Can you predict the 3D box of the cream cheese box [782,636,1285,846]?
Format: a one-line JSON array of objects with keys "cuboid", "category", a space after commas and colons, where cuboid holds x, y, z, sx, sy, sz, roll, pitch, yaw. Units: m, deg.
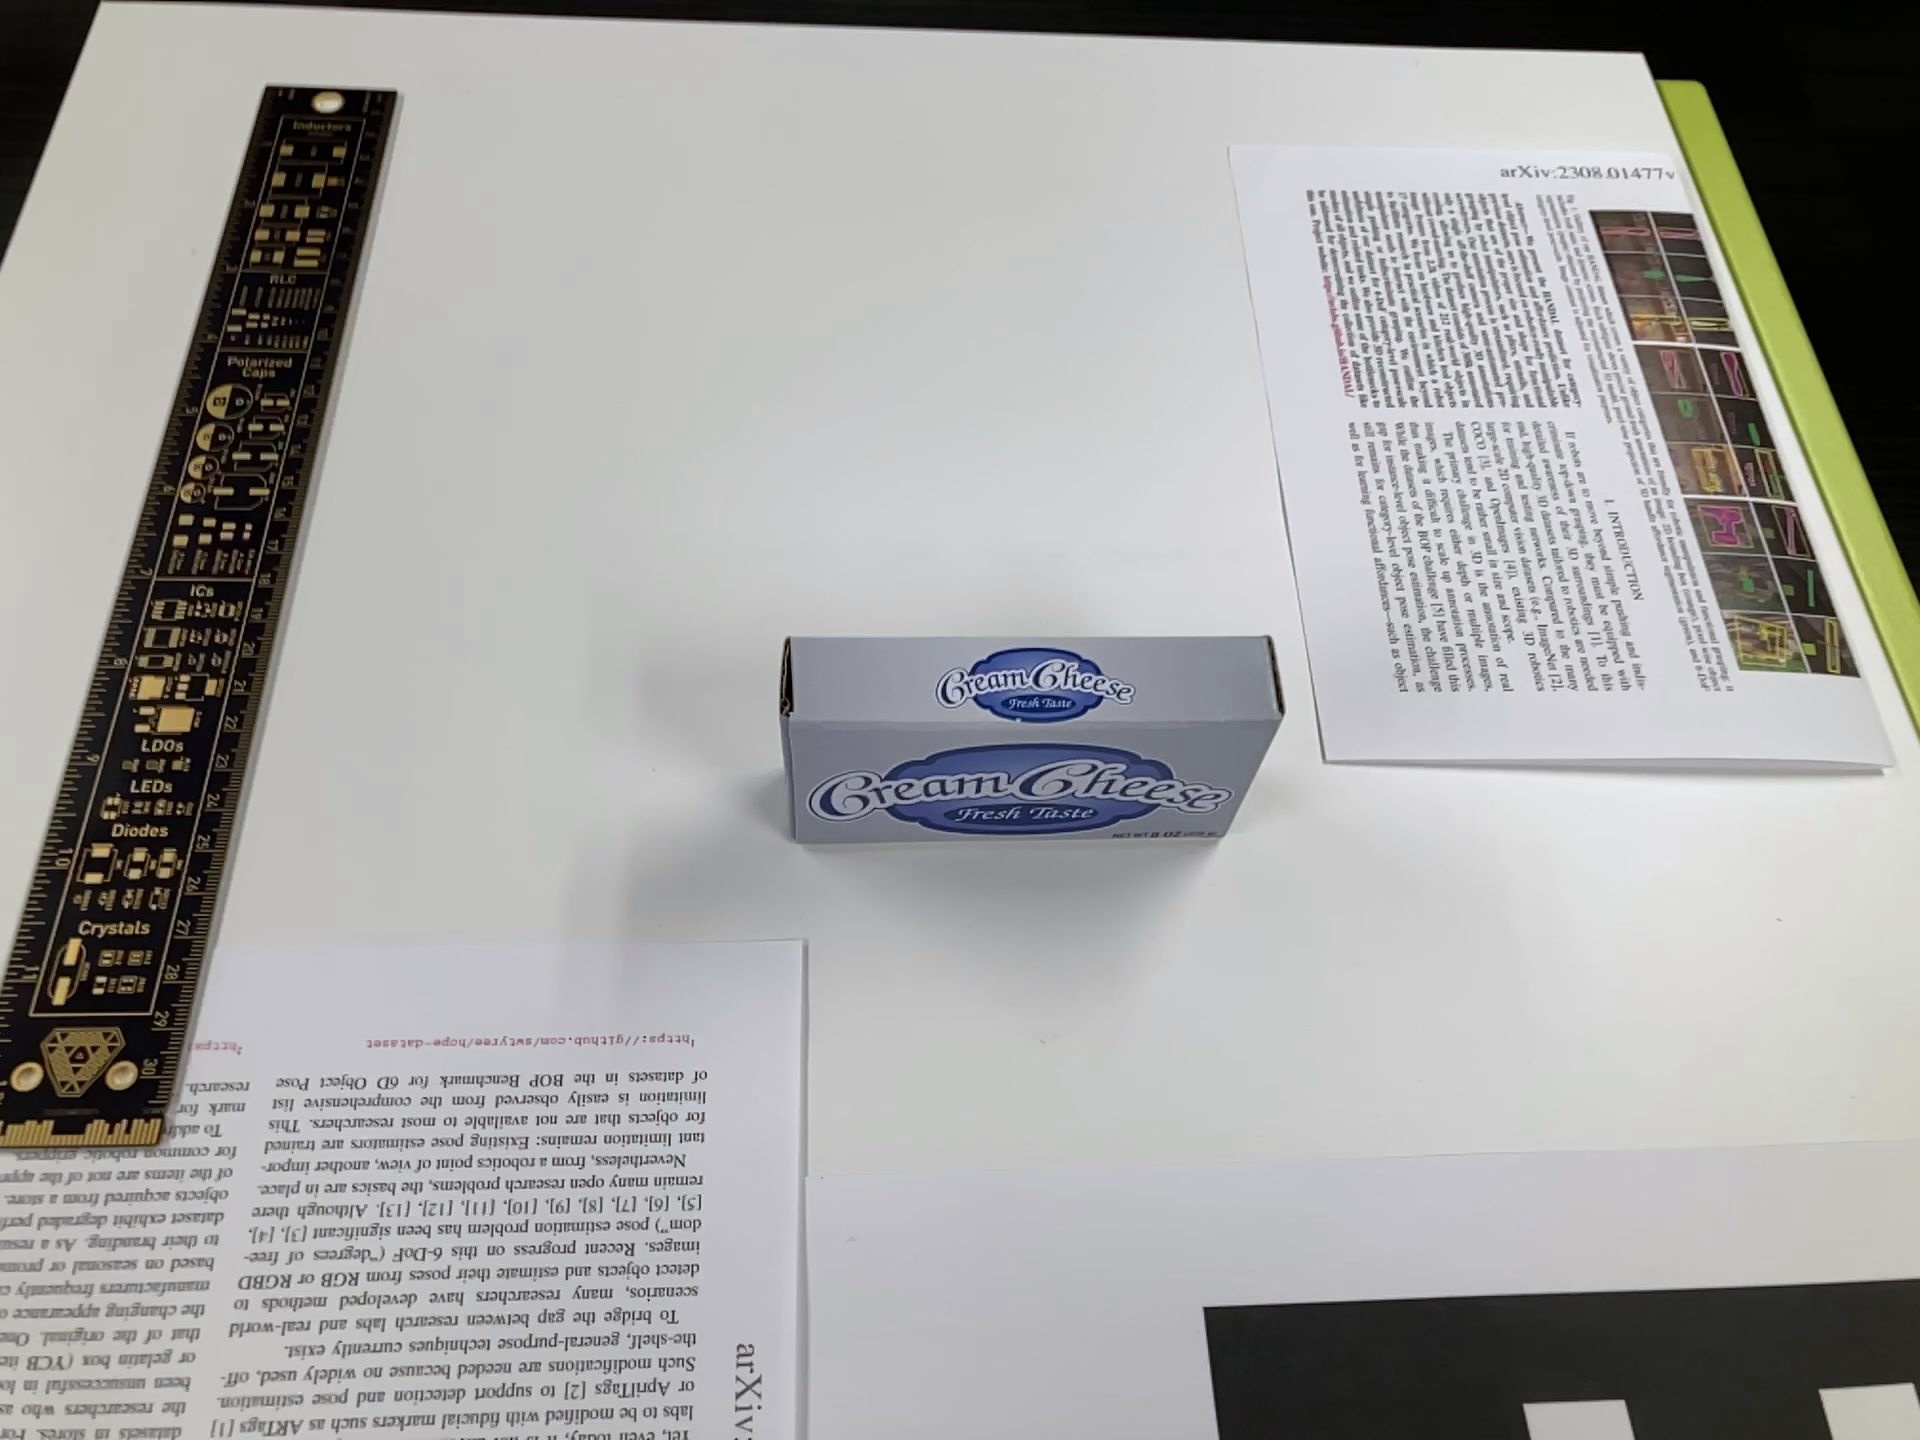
[{"cuboid": [0.014, 0.005, 0.350, 0.104, 0.053, 0.024, 0, 57, -5], "category": "cream cheese box"}]
